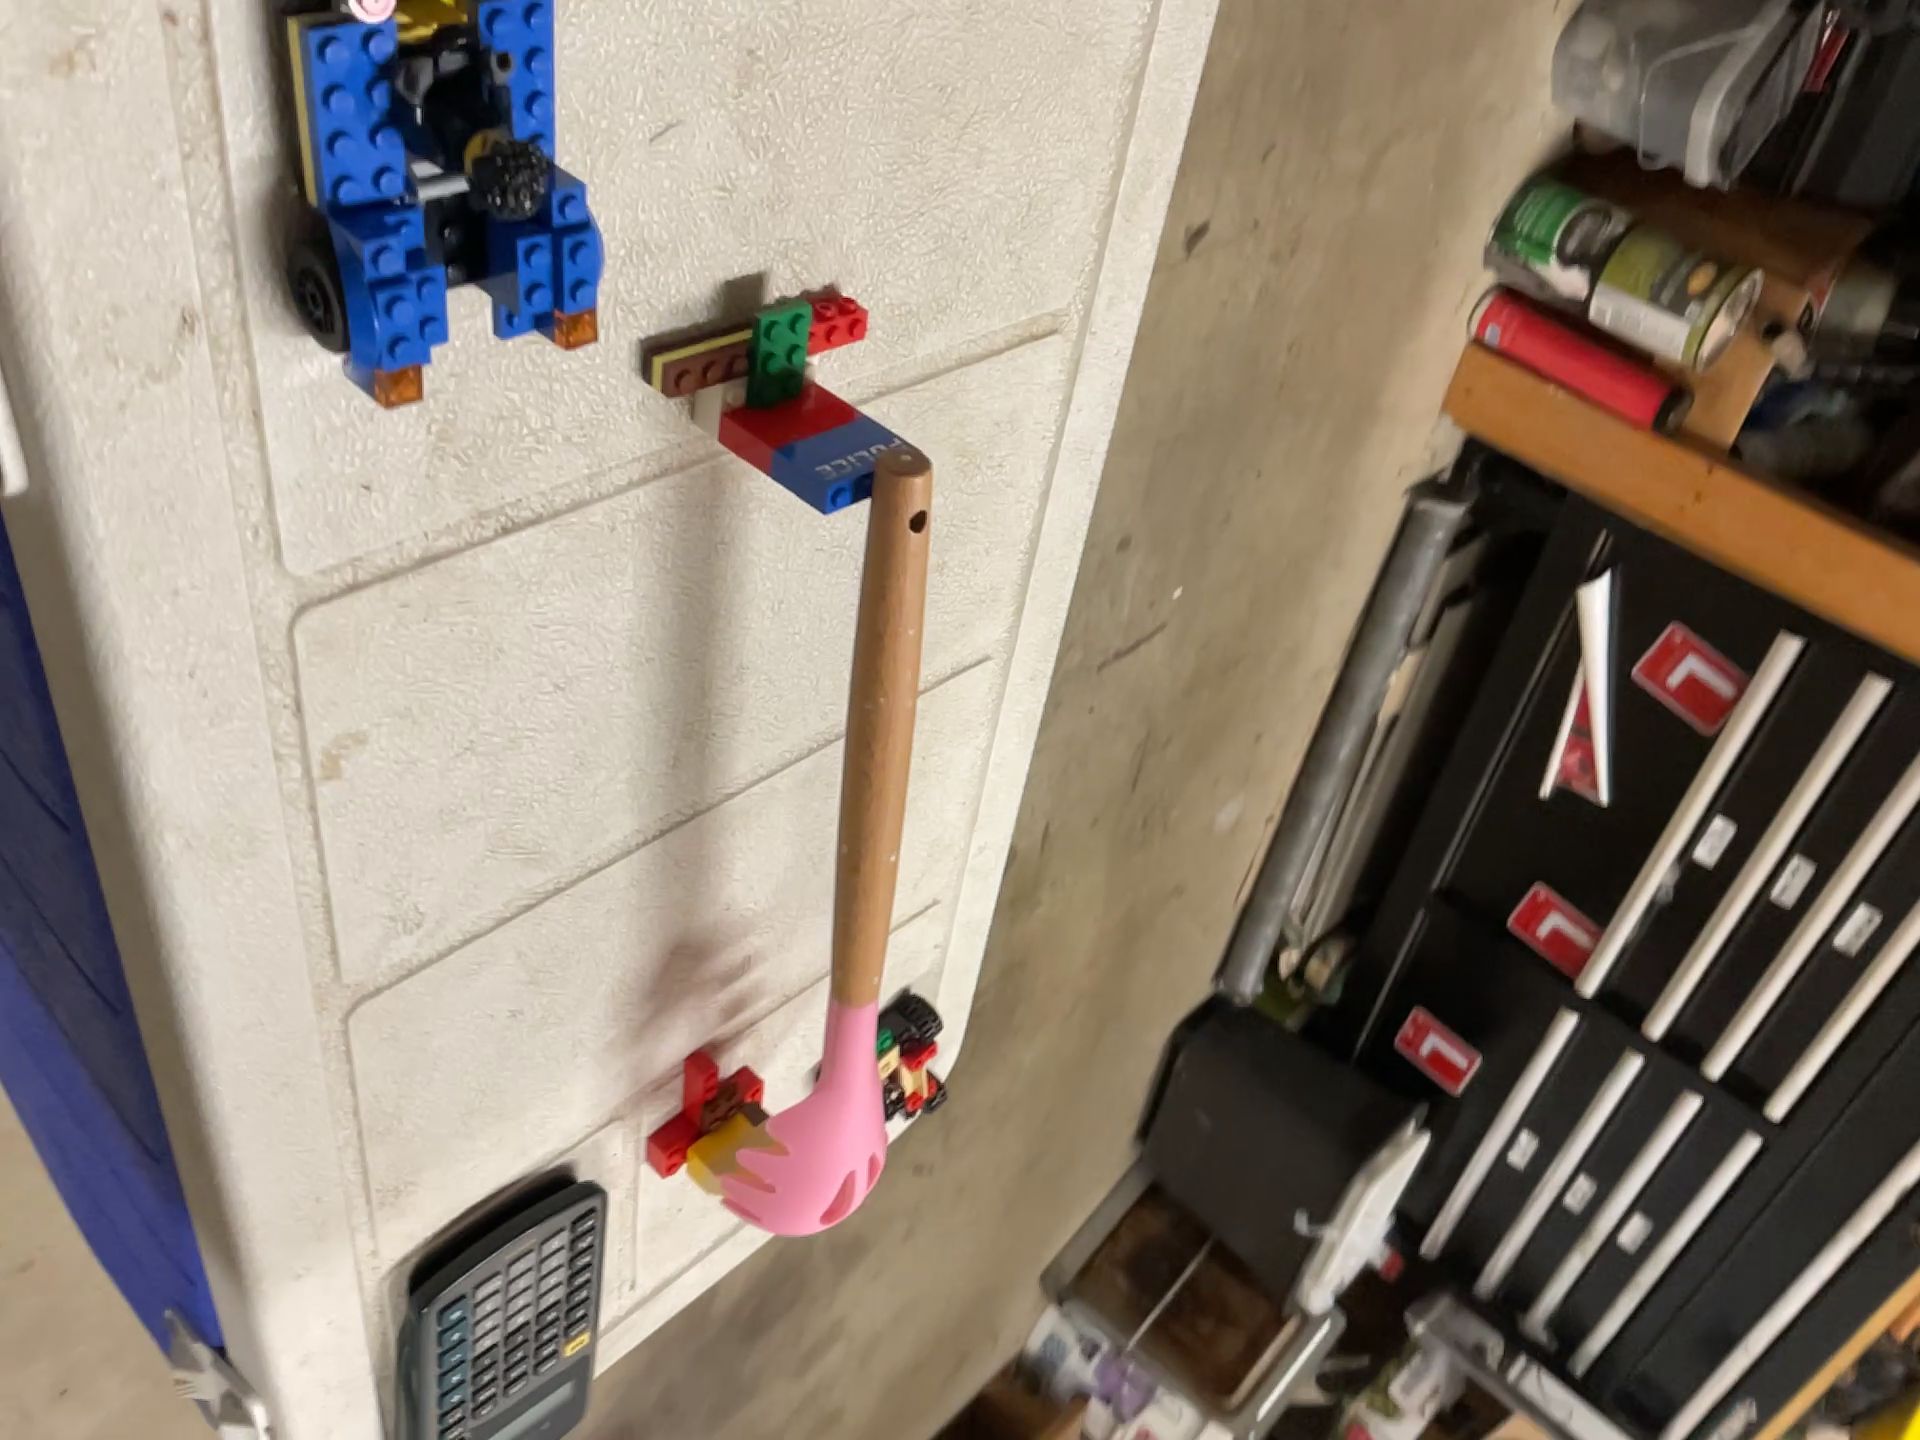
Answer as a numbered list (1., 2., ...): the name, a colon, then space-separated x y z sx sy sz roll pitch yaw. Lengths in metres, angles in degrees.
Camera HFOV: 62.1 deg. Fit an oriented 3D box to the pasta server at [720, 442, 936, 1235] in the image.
1. pasta server: -0.035 0.057 0.471 0.060 0.040 0.316 -29 142 -37
